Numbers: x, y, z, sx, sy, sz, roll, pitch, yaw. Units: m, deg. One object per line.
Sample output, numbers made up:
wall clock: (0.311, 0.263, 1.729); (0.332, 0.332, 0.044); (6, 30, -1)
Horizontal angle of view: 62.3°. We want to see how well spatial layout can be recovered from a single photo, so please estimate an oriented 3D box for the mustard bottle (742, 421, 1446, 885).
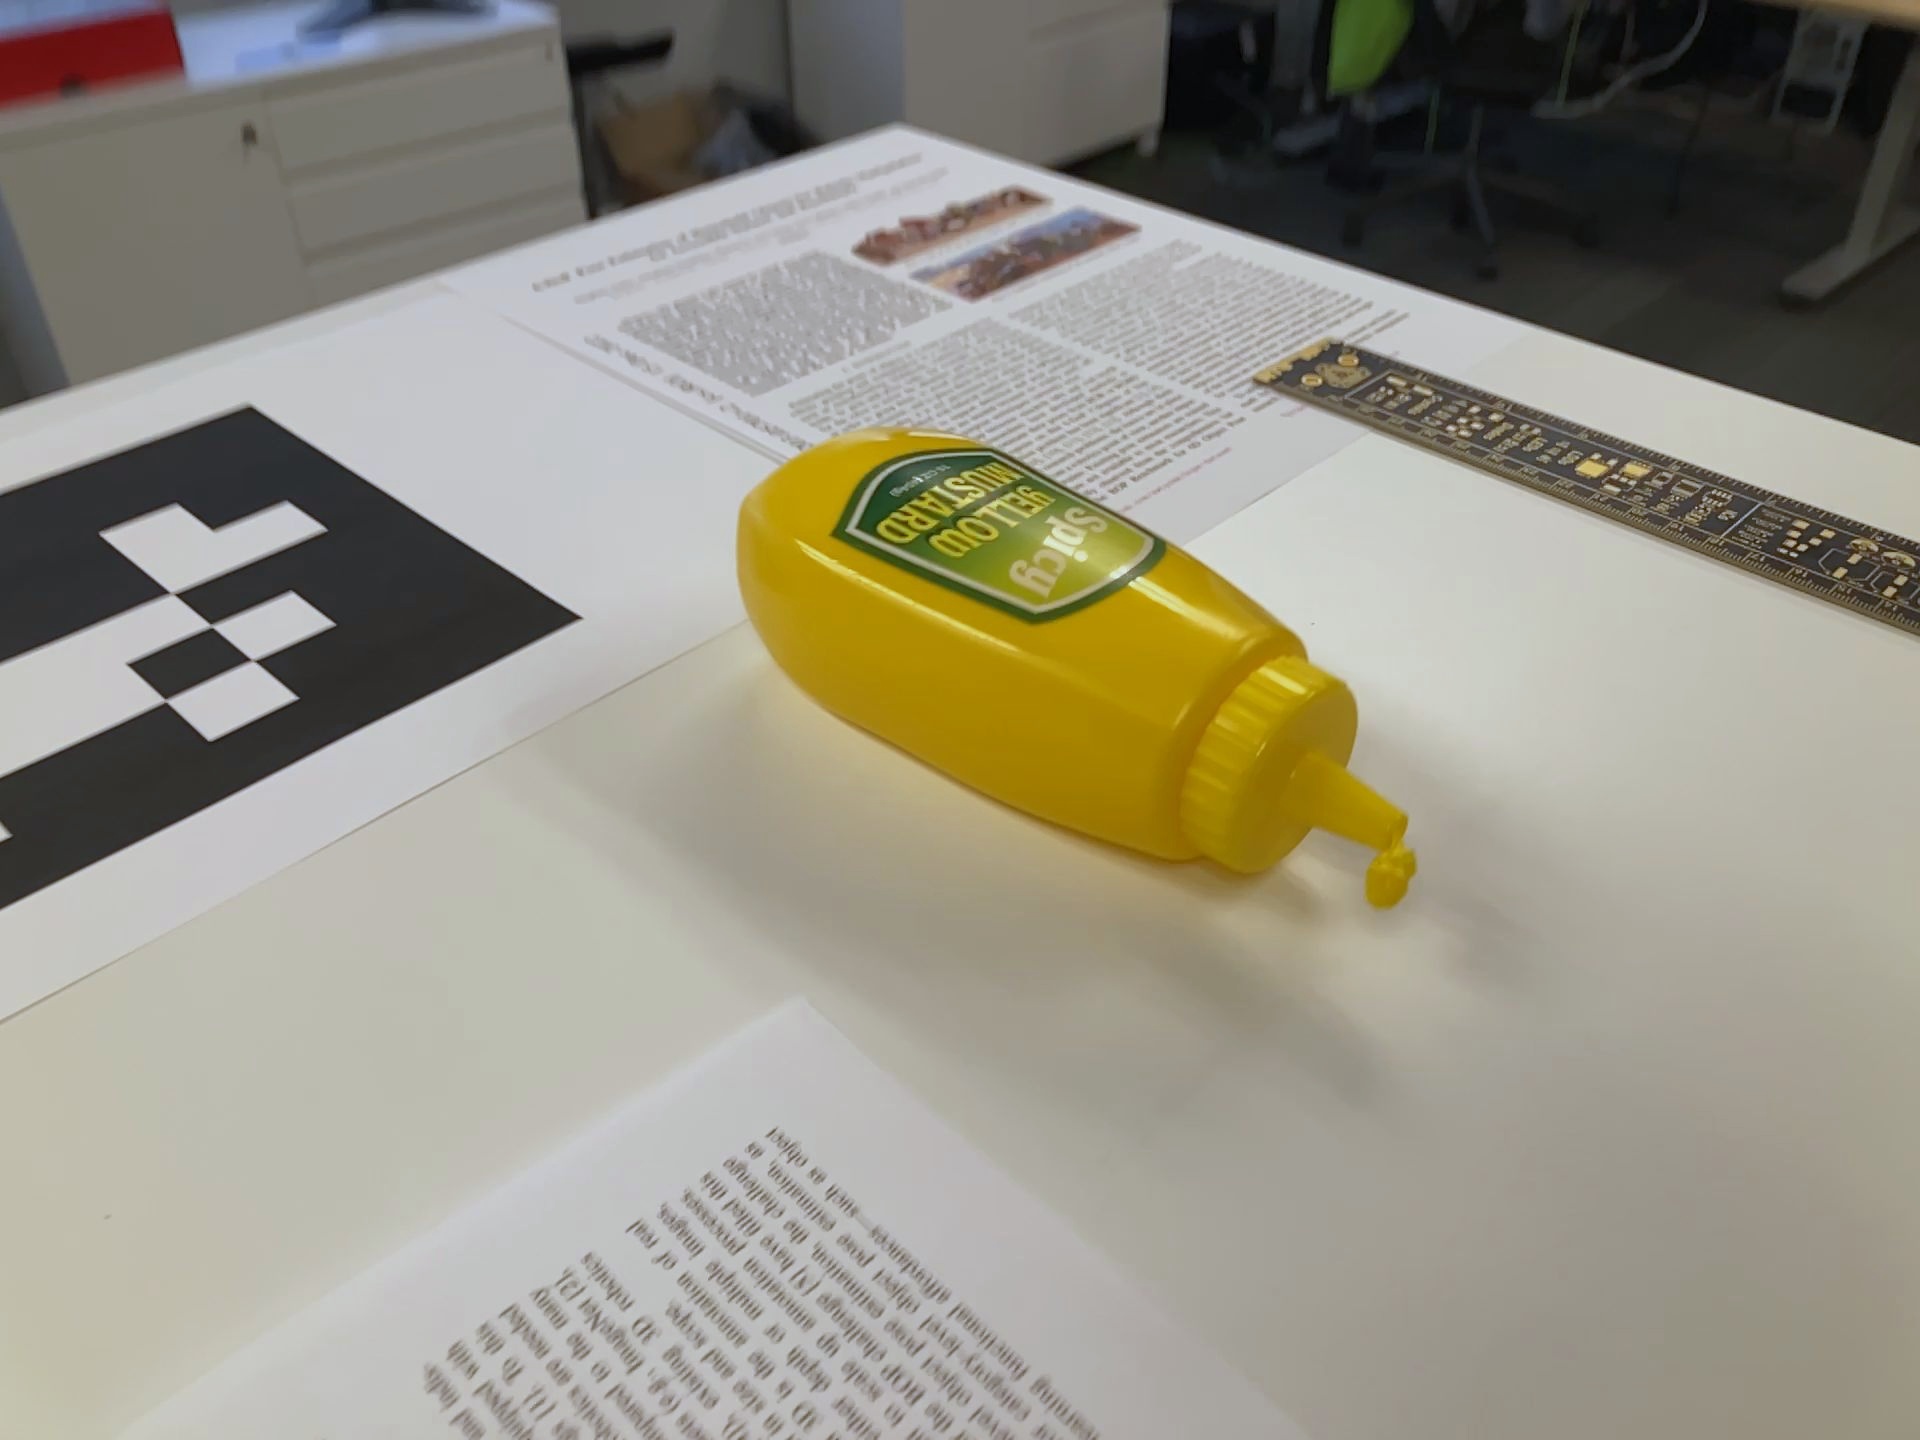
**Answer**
mustard bottle: (0.026, -0.012, 0.313); (0.160, 0.049, 0.065); (29, 47, 33)
